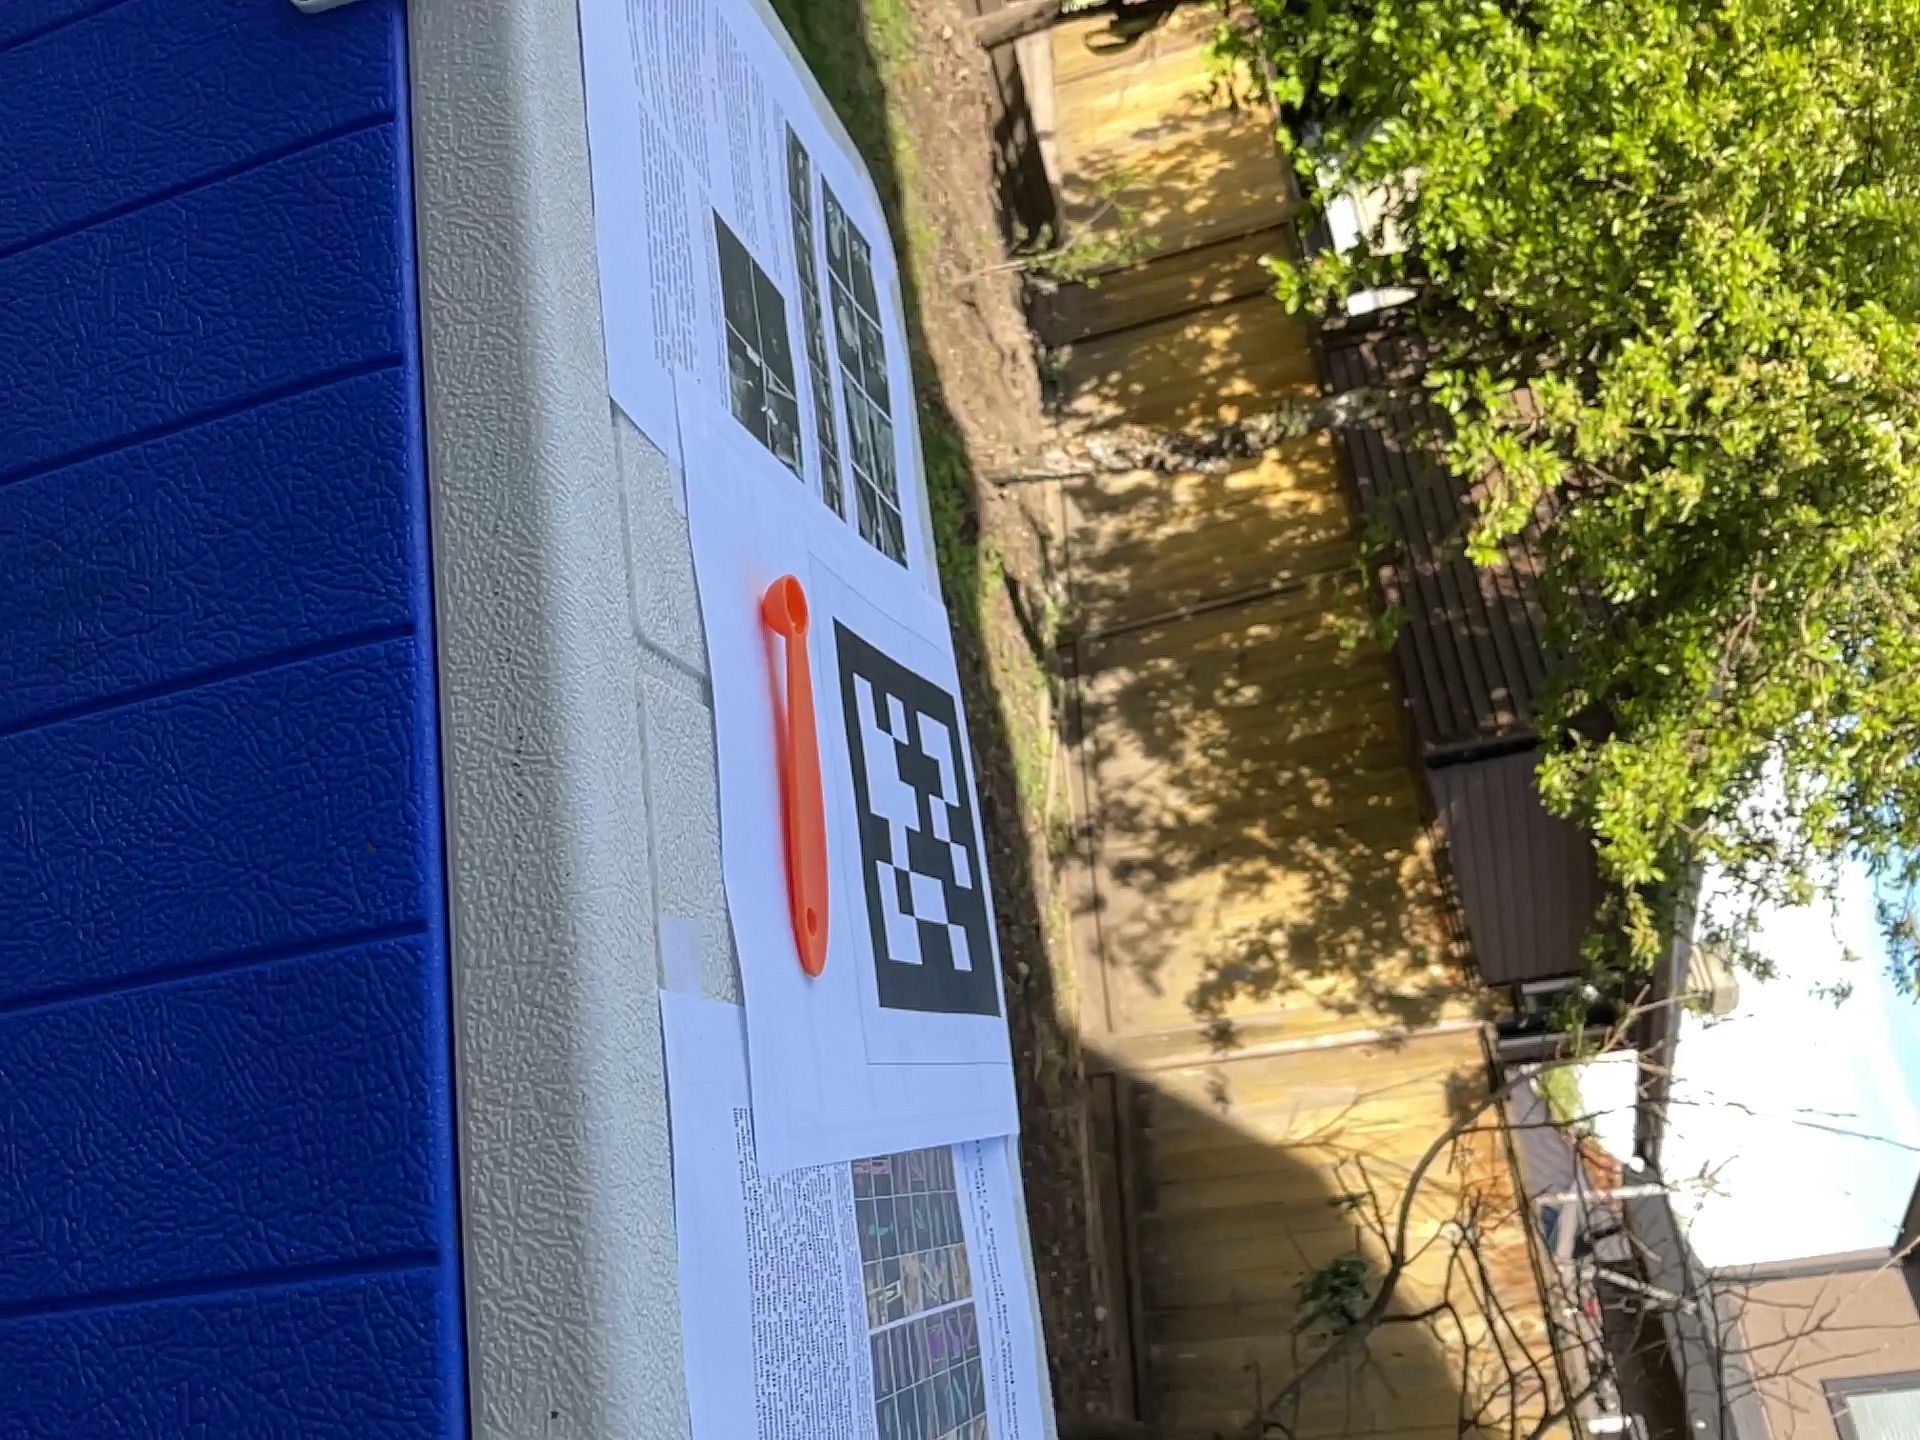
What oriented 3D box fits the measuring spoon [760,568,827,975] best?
[{"bbox_3d":[-0.048,0.013,0.454,0.021,0.011,0.117,34,49,-71],"label":"measuring spoon"}]
